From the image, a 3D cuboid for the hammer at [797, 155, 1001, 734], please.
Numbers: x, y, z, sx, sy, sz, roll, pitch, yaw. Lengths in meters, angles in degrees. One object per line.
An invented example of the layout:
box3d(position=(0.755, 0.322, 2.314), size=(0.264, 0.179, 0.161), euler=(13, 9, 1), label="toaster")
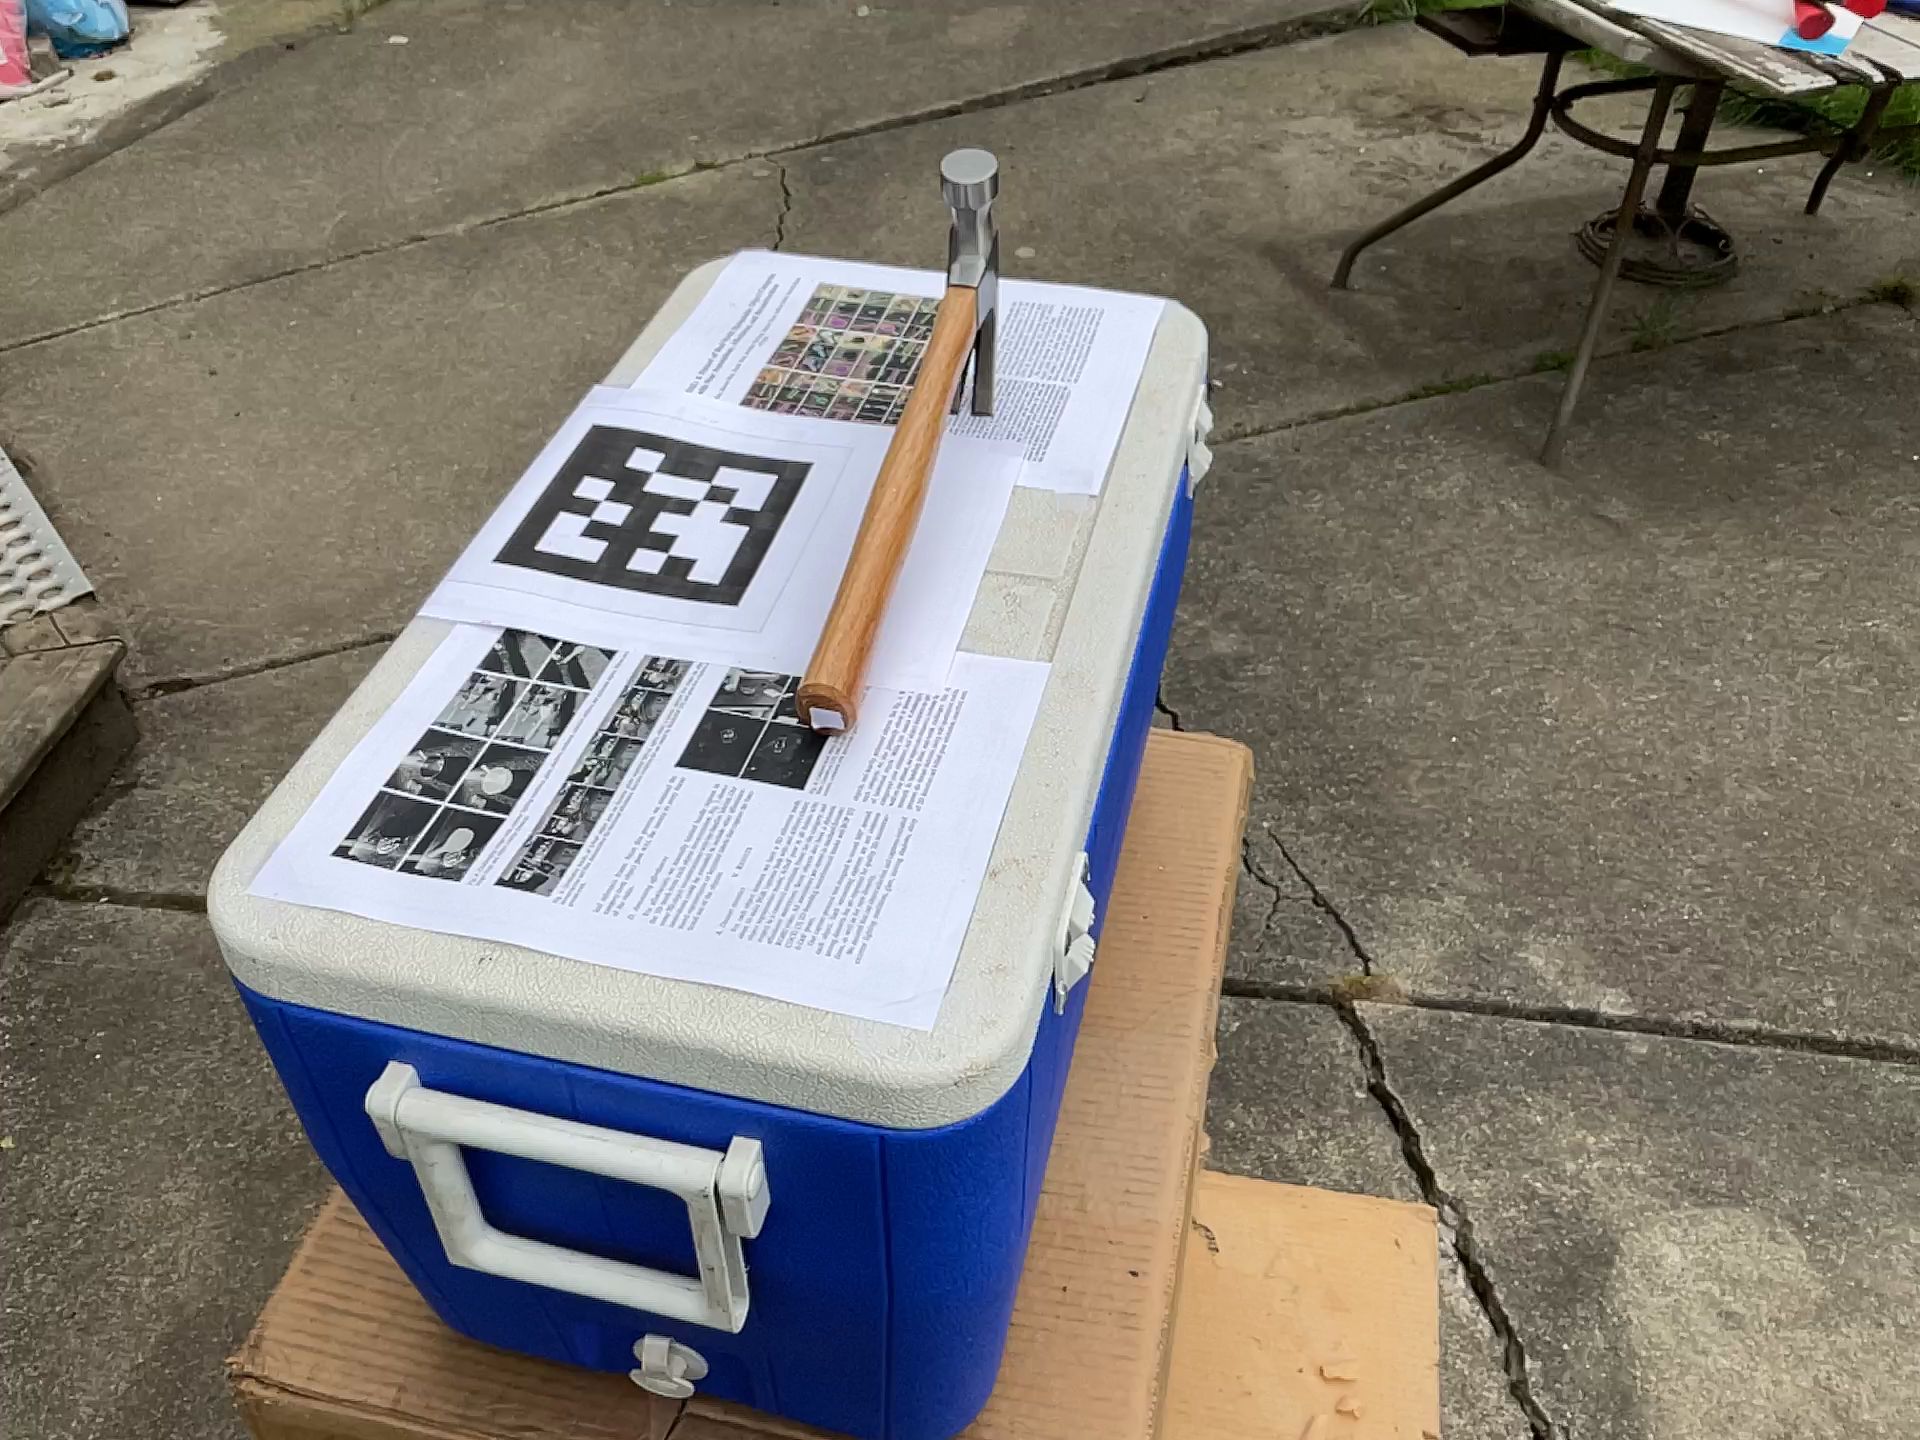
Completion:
box3d(position=(-0.023, -0.130, 0.795), size=(0.031, 0.130, 0.331), euler=(8, 53, 11), label="hammer")
